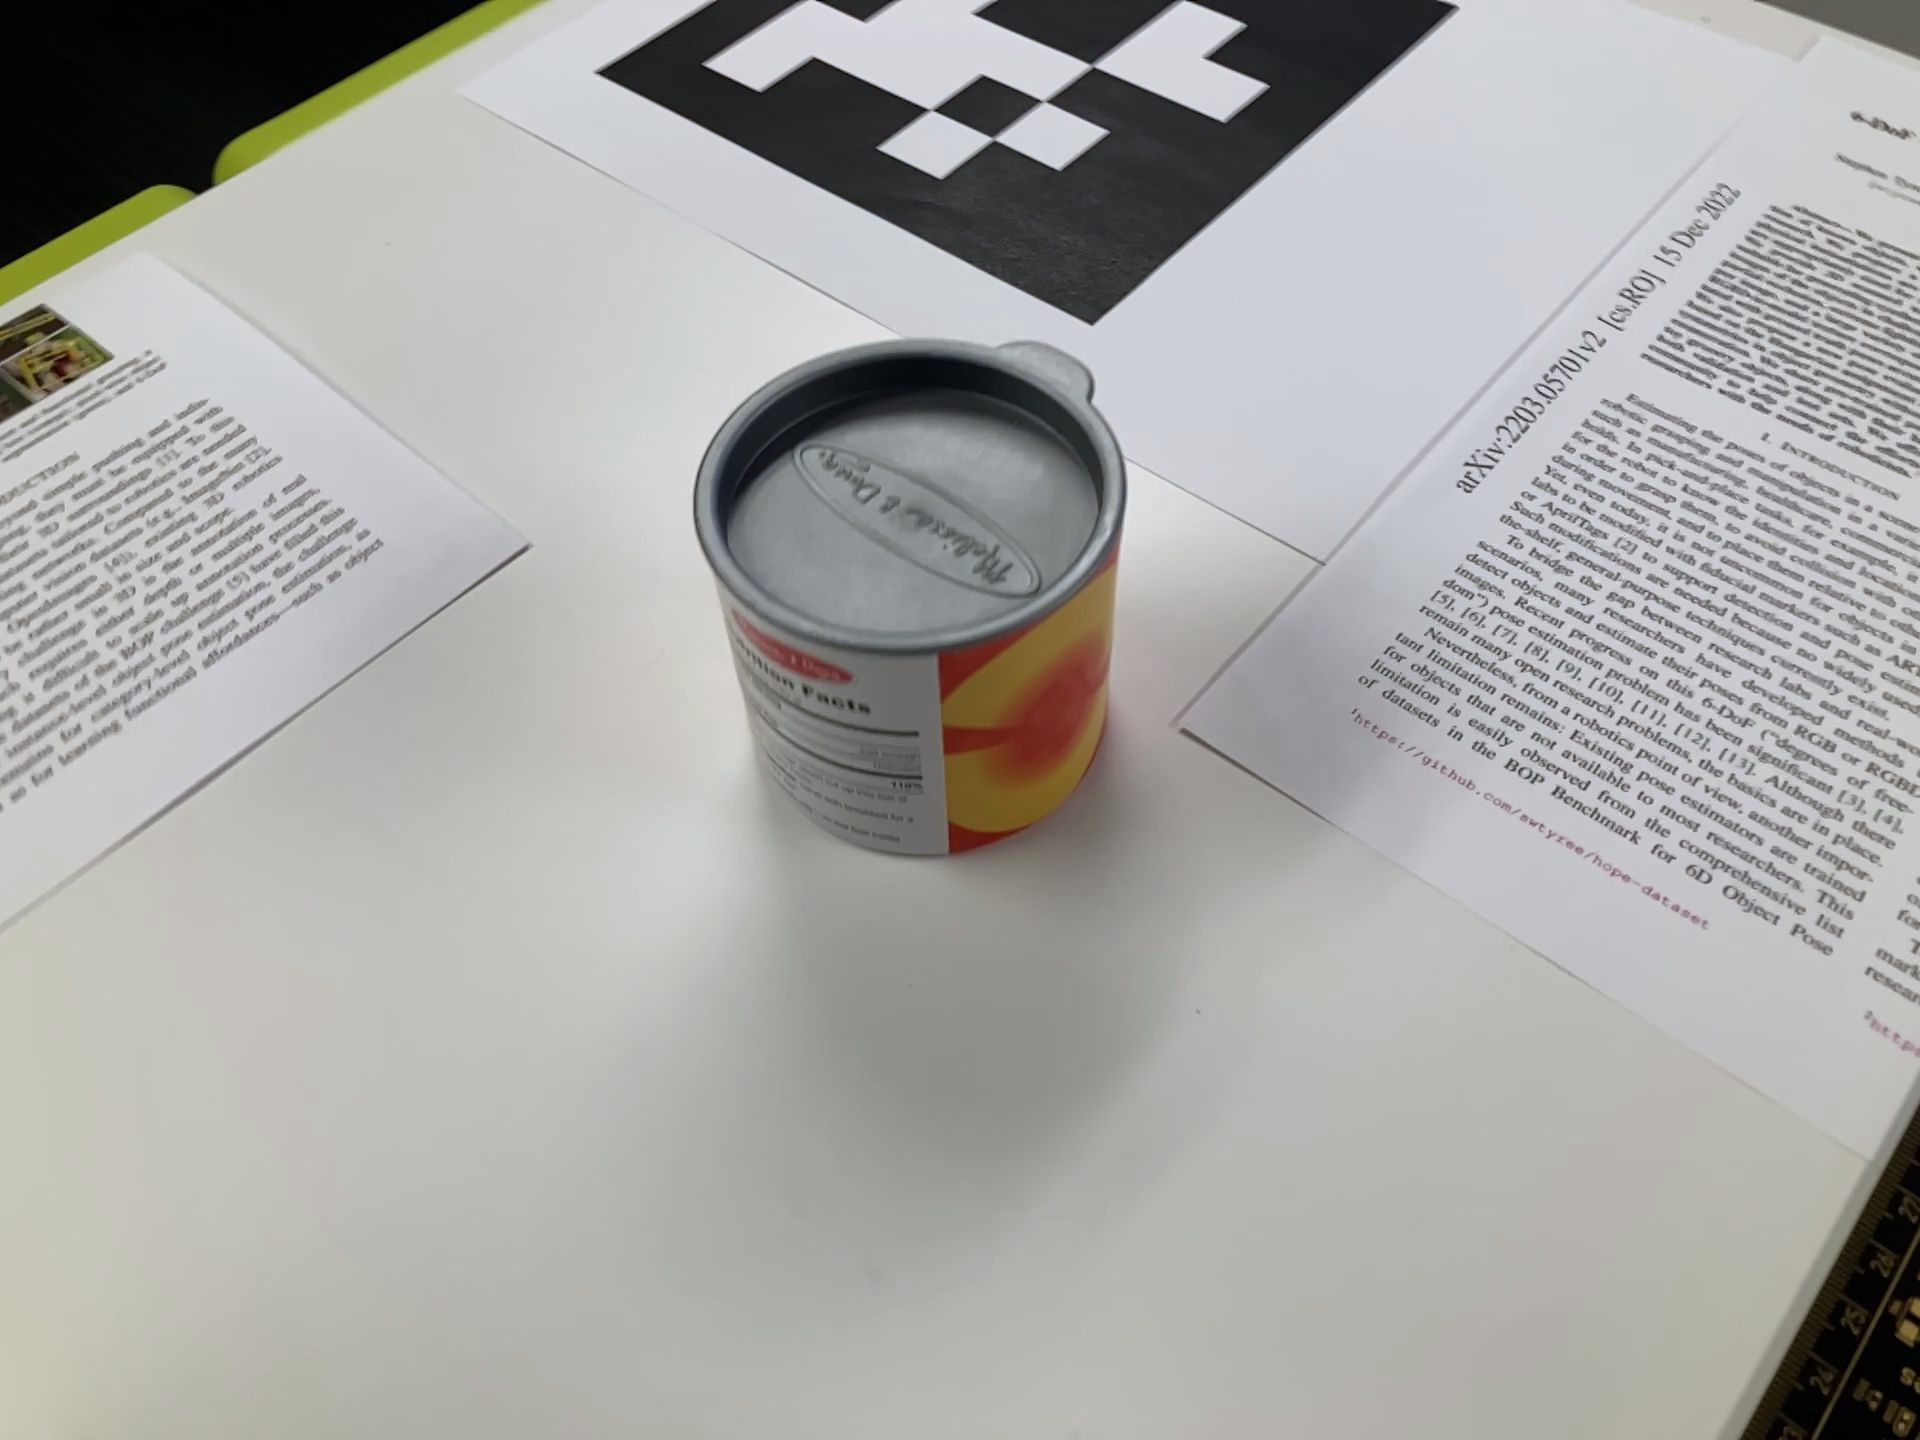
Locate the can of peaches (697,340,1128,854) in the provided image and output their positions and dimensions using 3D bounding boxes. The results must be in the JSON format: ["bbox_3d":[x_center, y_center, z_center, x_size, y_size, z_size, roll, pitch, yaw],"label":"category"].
[{"bbox_3d":[-0.005,-0.021,0.267,0.071,0.058,0.071,-1,53,1],"label":"can of peaches"}]
